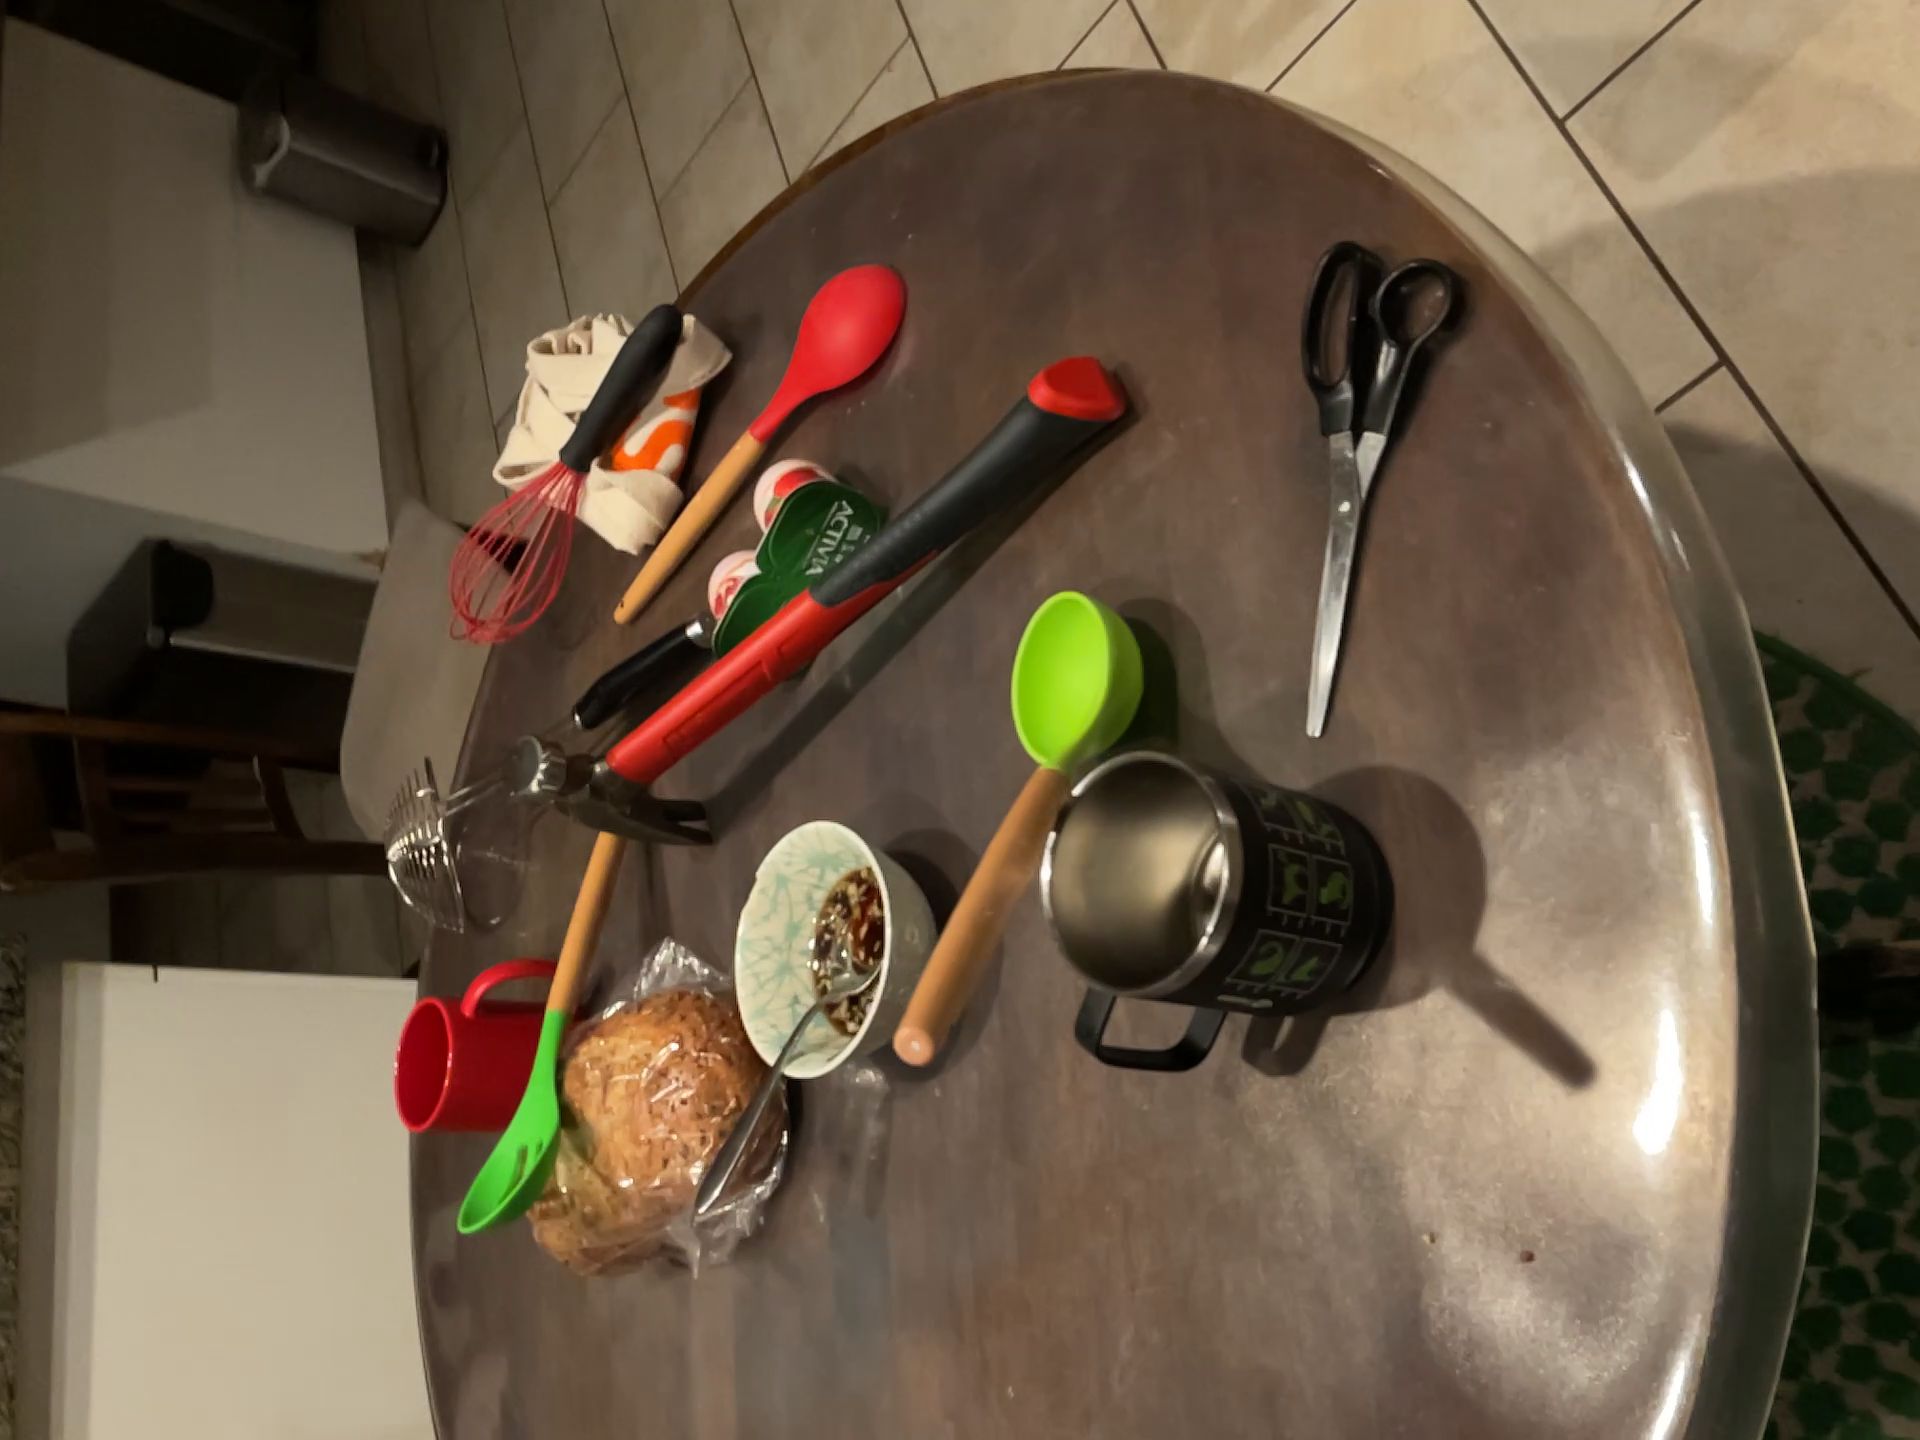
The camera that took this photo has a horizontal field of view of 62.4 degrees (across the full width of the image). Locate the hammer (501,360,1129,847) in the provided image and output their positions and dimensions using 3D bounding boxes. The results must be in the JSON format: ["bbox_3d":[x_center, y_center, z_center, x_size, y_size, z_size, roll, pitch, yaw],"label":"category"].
[{"bbox_3d":[-0.063,-0.049,0.832,0.386,0.143,0.038,-35,56,24],"label":"hammer"}]

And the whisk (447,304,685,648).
[{"bbox_3d":[-0.261,-0.156,1.043,0.296,0.073,0.073,-48,47,29],"label":"whisk"}]

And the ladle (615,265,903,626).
[{"bbox_3d":[-0.137,-0.159,0.979,0.315,0.031,0.069,-45,50,34],"label":"ladle"}]

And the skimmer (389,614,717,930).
[{"bbox_3d":[-0.272,0.029,1.081,0.363,0.090,0.127,-31,66,28],"label":"skimmer"}]

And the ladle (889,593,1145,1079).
[{"bbox_3d":[0.017,0.031,0.590,0.062,0.320,0.078,25,117,5],"label":"ladle"}]

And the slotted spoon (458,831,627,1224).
[{"bbox_3d":[-0.225,0.147,0.921,0.070,0.031,0.314,-30,37,35],"label":"slotted spoon"}]
